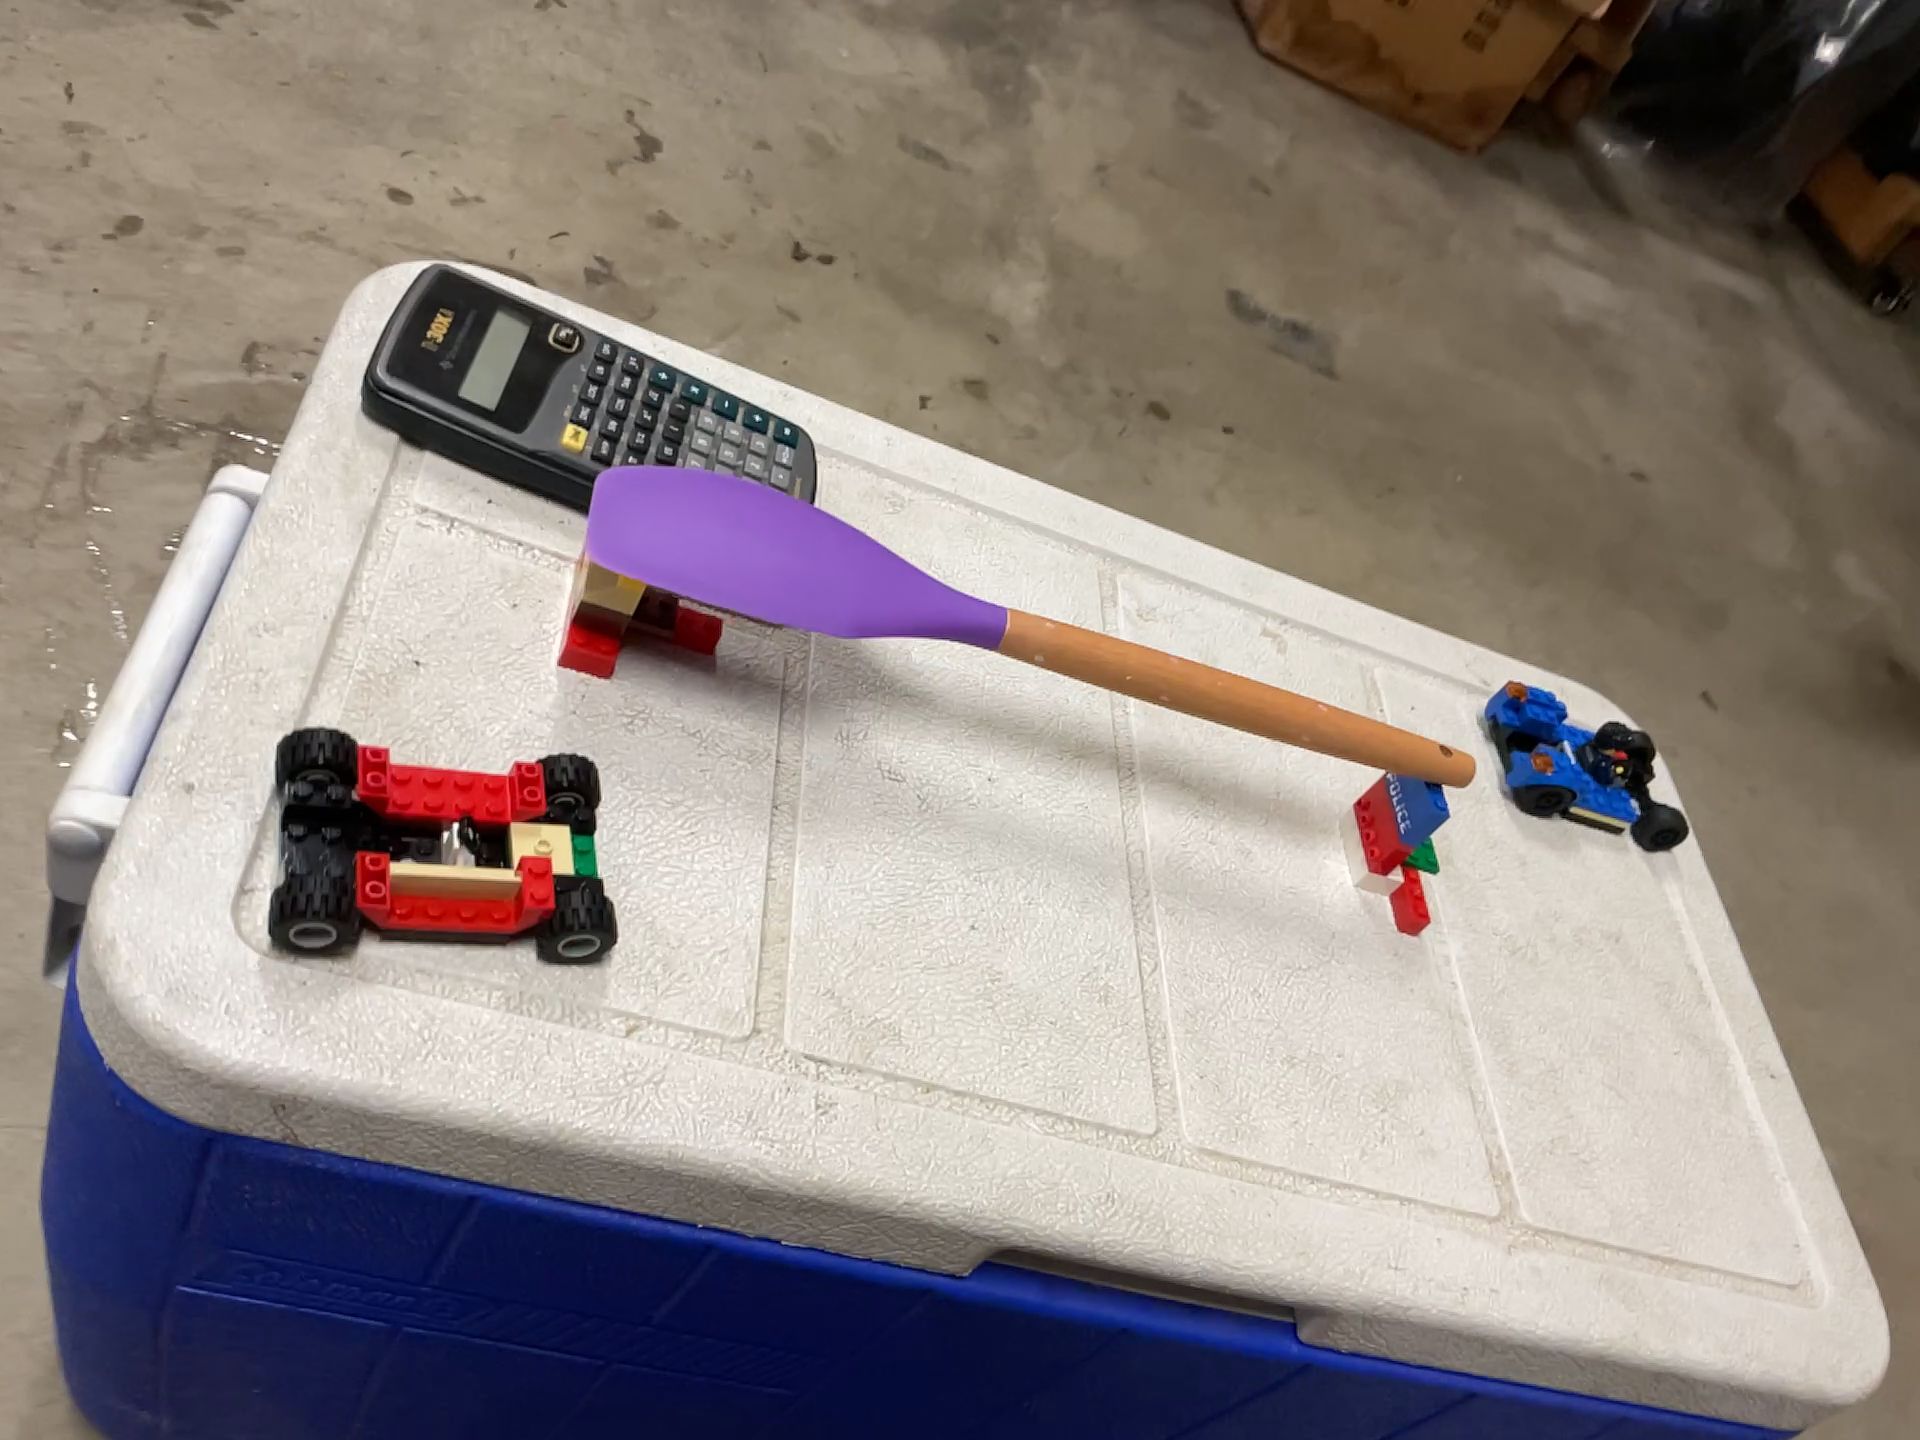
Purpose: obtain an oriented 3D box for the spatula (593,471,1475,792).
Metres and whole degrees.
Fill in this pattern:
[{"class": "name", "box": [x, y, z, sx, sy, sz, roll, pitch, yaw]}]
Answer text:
[{"class": "spatula", "box": [0.037, -0.023, 0.523, 0.316, 0.018, 0.060, 16, 45, -18]}]
